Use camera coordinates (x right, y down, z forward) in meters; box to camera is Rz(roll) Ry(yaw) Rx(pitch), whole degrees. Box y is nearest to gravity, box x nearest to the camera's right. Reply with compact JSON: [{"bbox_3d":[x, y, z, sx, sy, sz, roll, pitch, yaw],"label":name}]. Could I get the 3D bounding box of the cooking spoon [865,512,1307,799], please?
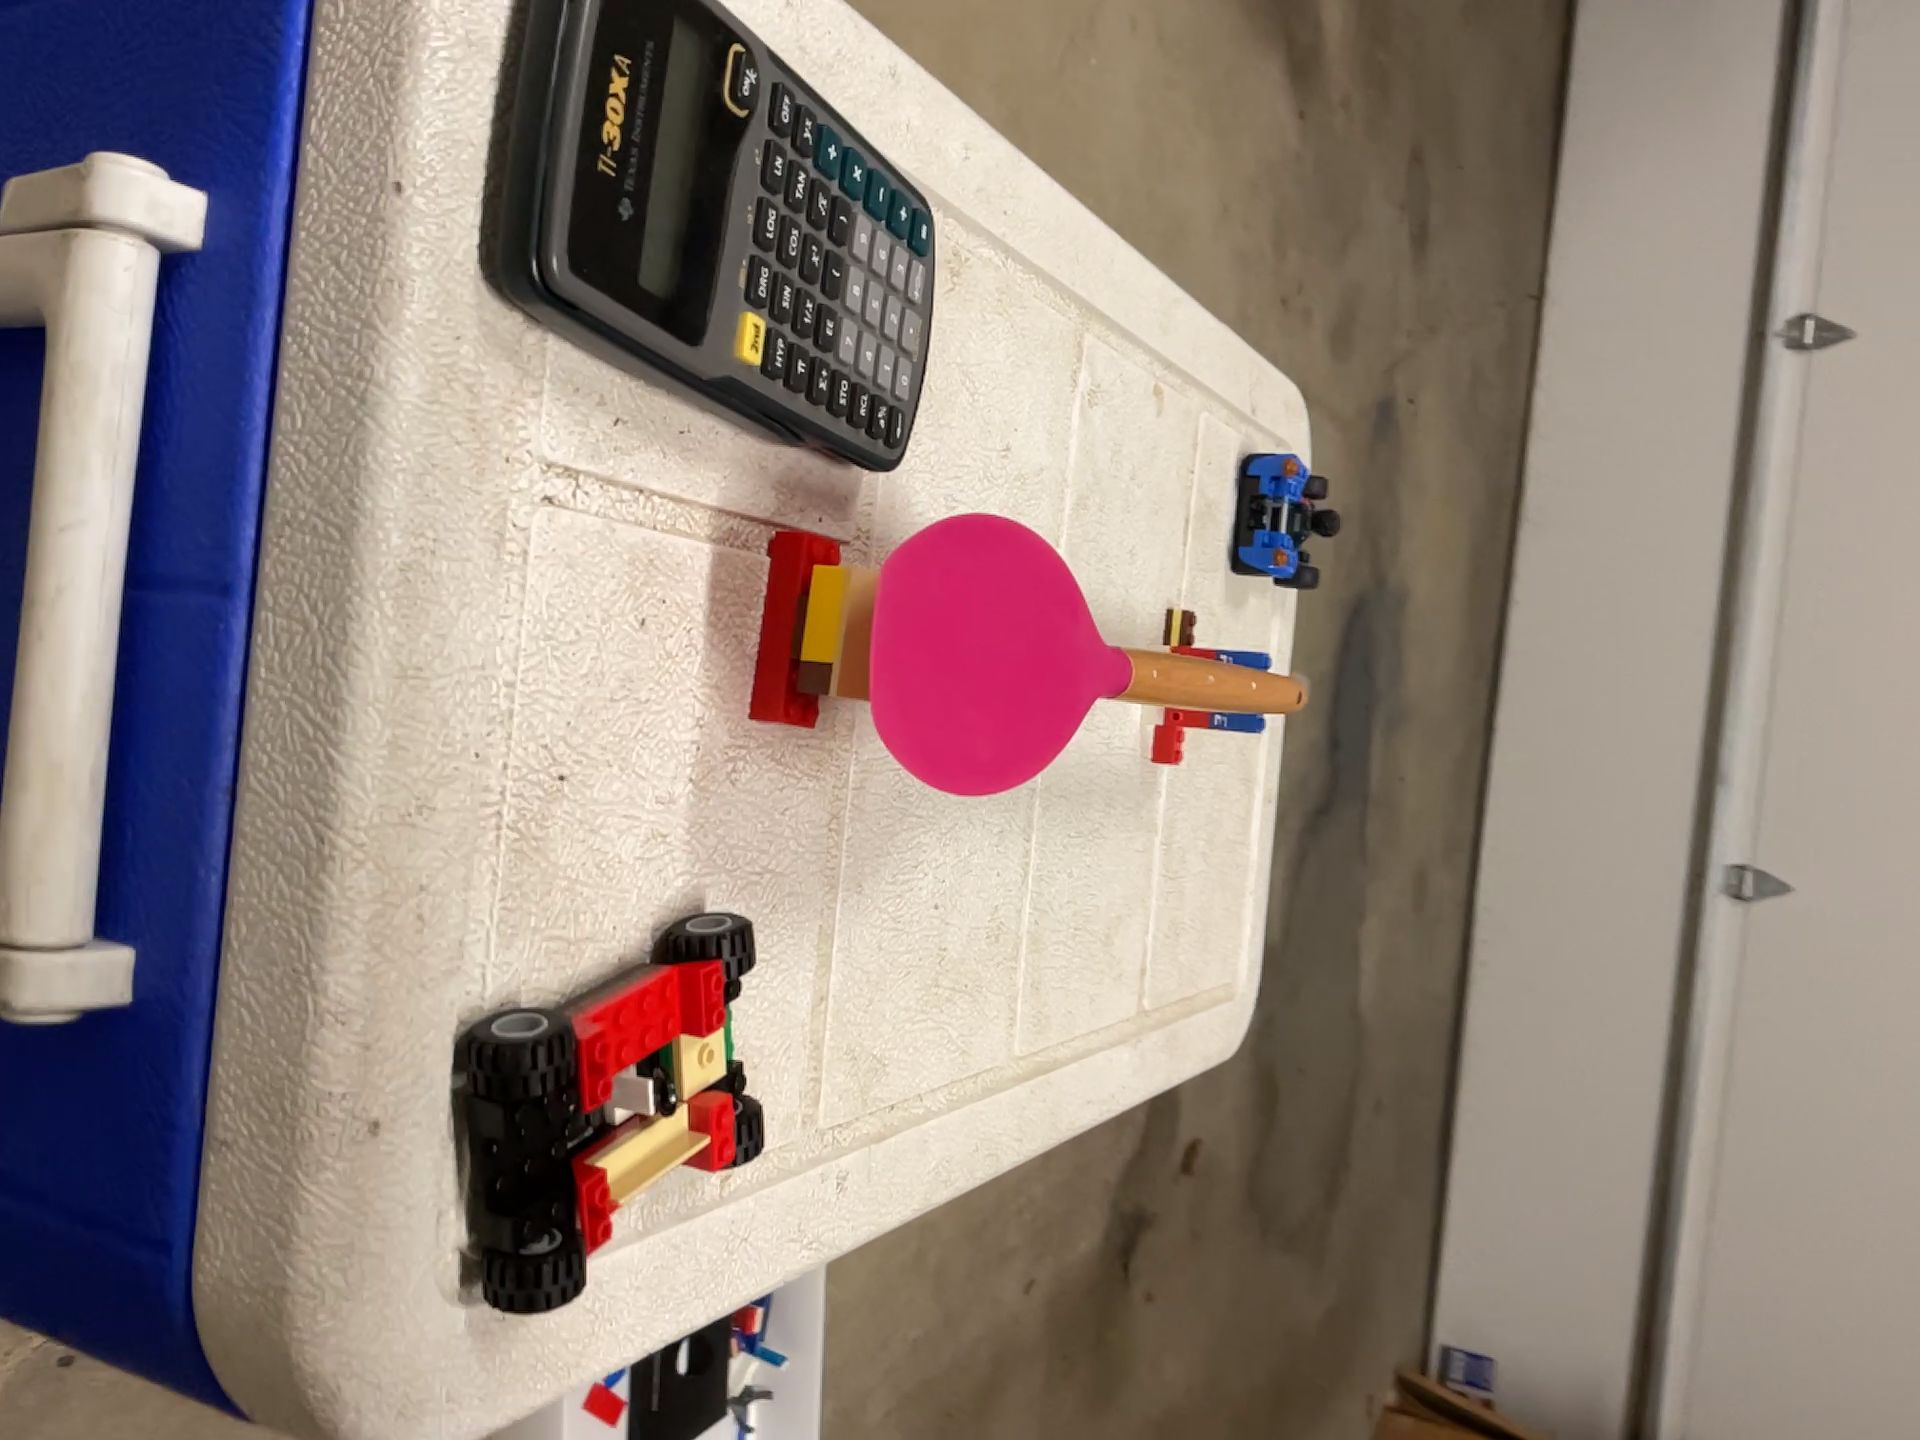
[{"bbox_3d":[0.054,-0.013,0.485,0.319,0.017,0.068,3,92,-61],"label":"cooking spoon"}]
